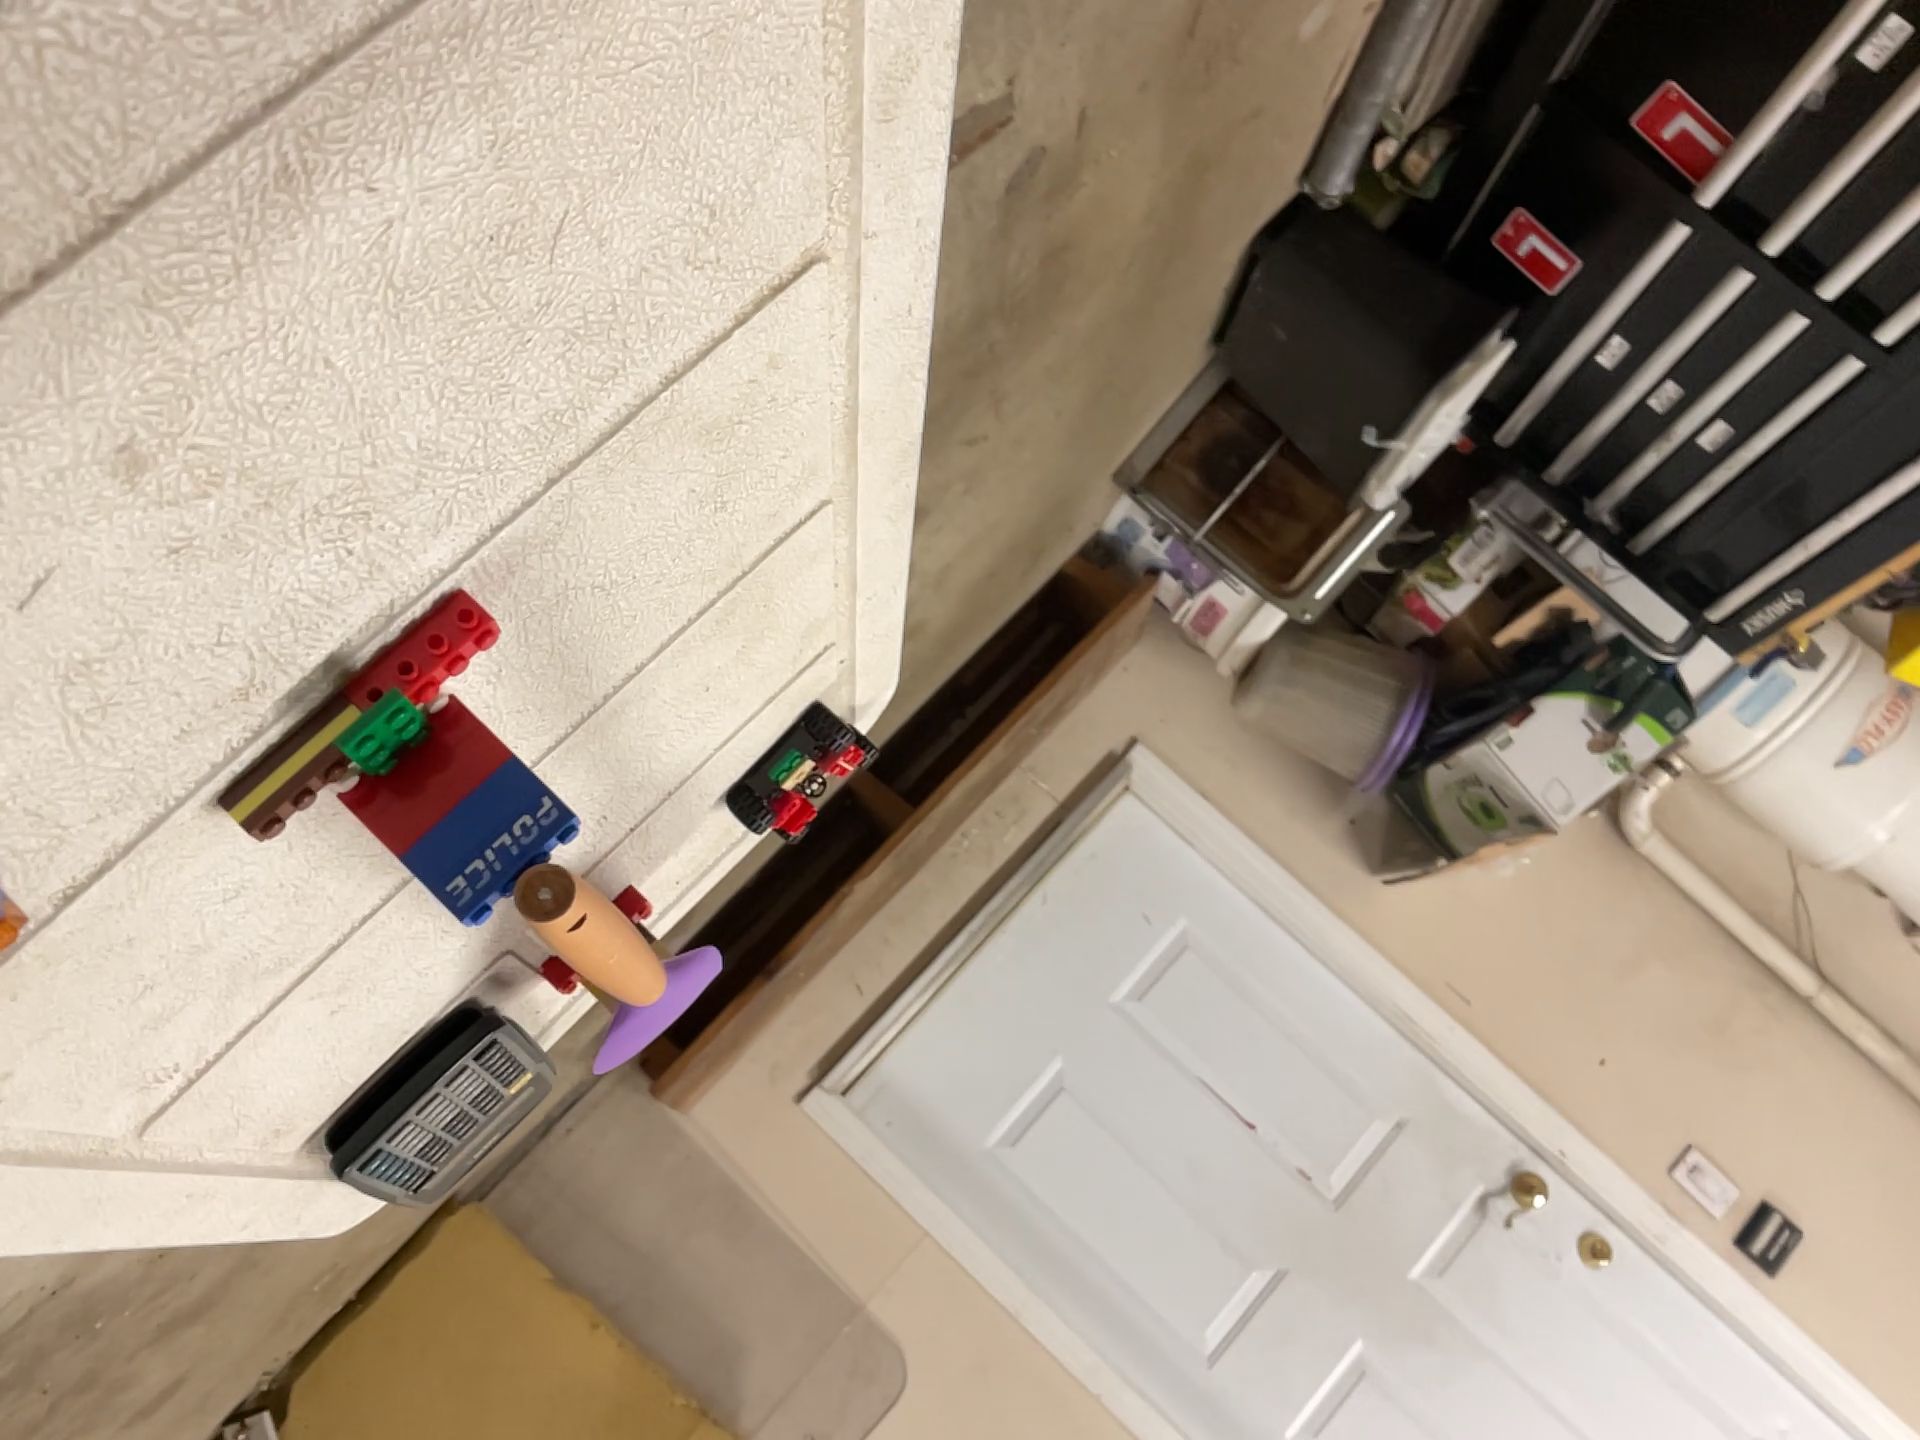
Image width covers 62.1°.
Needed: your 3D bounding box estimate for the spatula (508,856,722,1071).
[{"bbox_3d":[-0.100,0.076,0.478,0.060,0.018,0.315,-46,173,-15],"label":"spatula"}]
